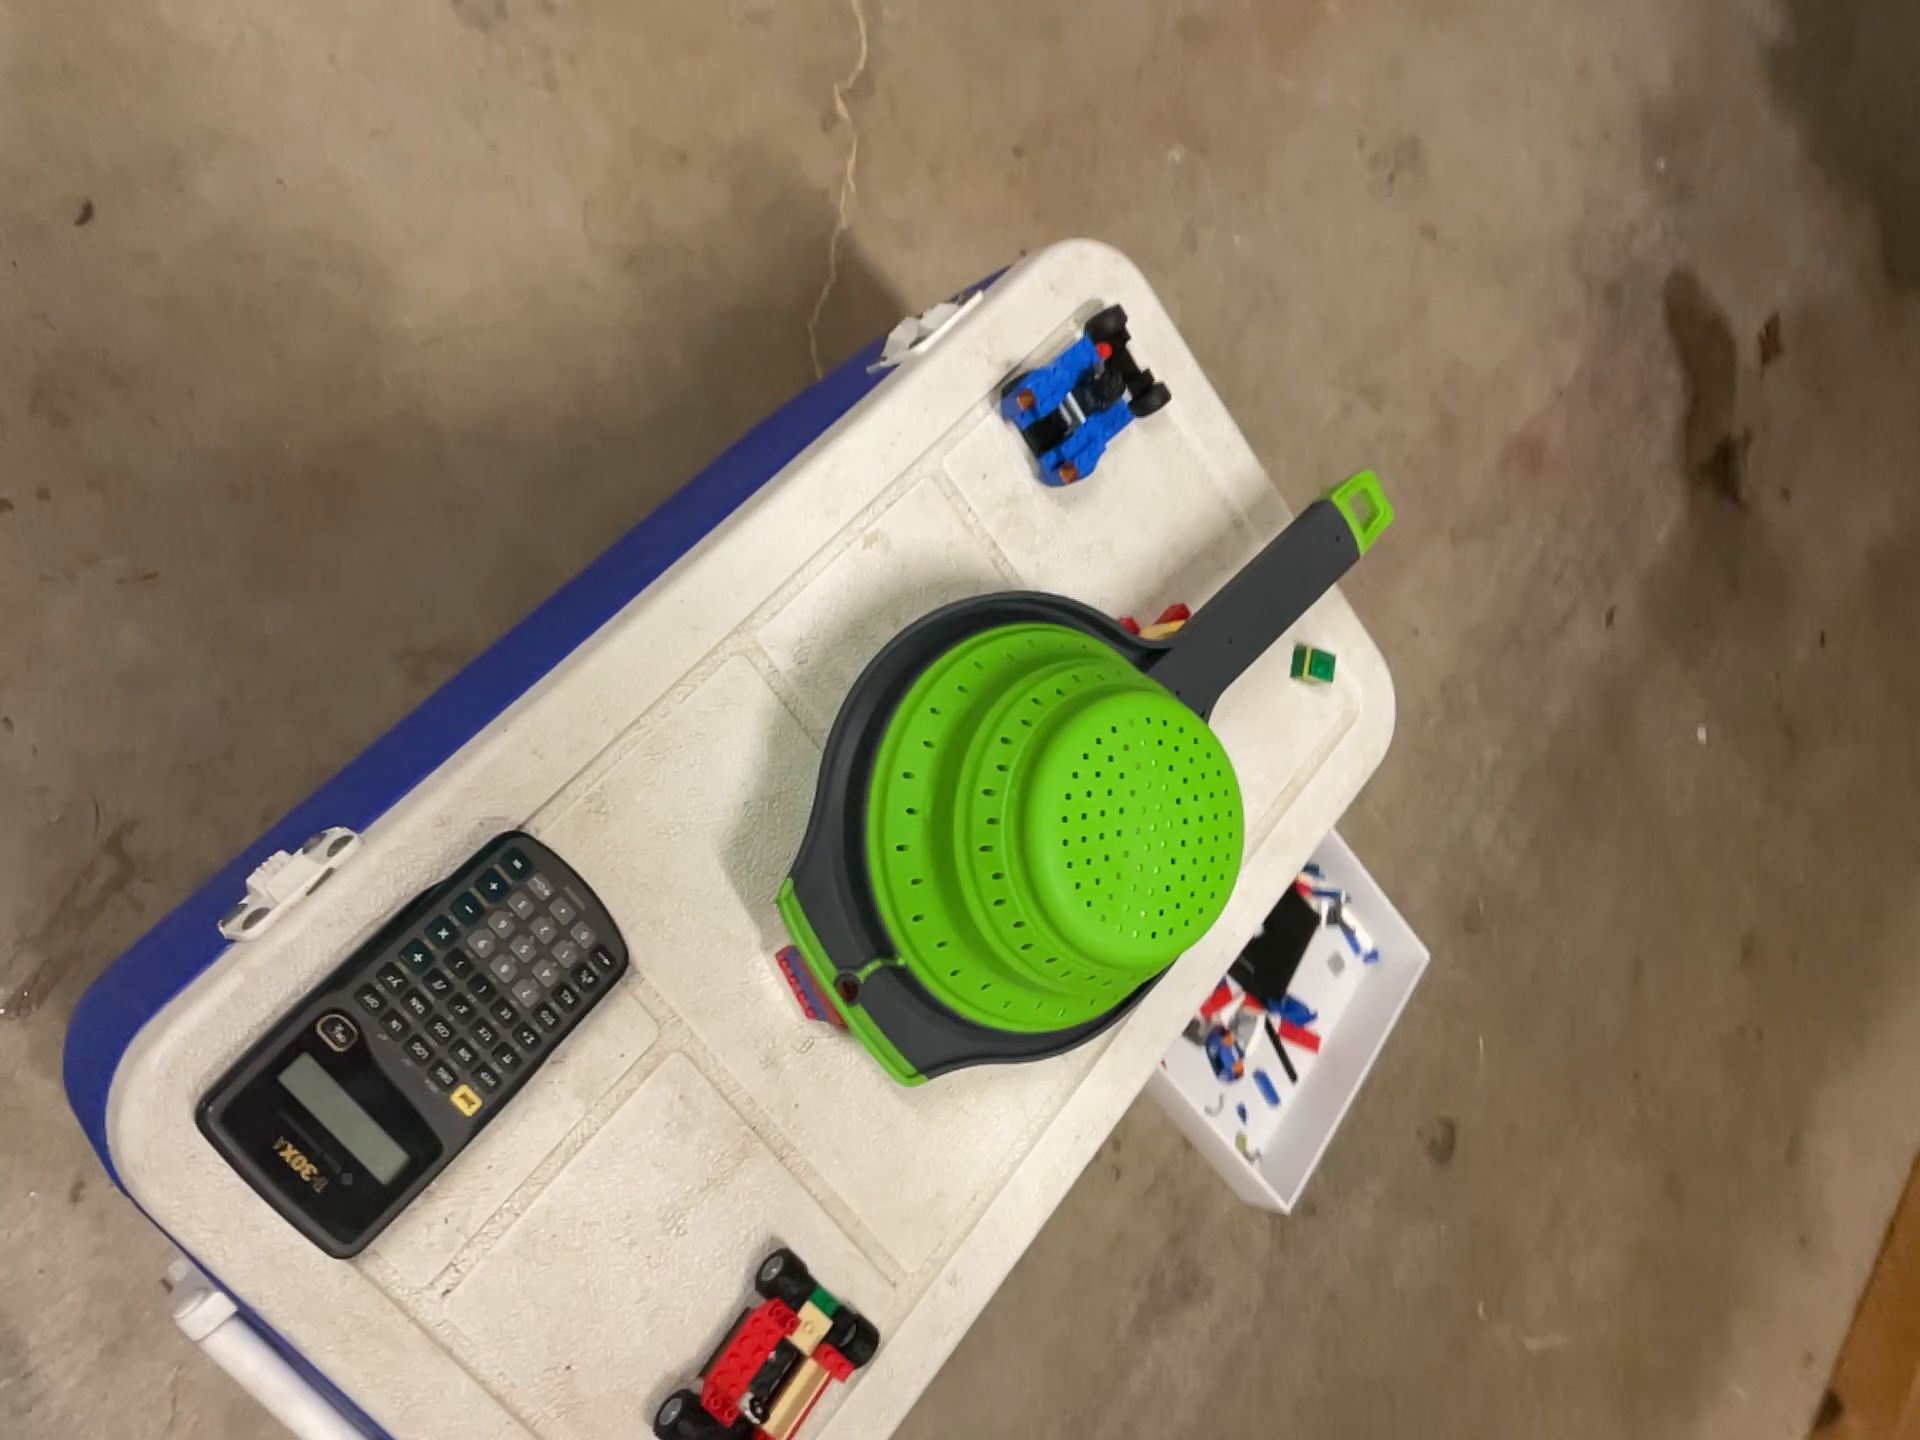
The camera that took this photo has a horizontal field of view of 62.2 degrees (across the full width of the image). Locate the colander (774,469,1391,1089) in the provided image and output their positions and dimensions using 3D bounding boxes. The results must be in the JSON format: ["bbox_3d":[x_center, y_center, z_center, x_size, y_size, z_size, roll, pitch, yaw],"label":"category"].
[{"bbox_3d":[0.102,-0.004,0.696,0.397,0.094,0.204,-42,109,-29],"label":"colander"}]
